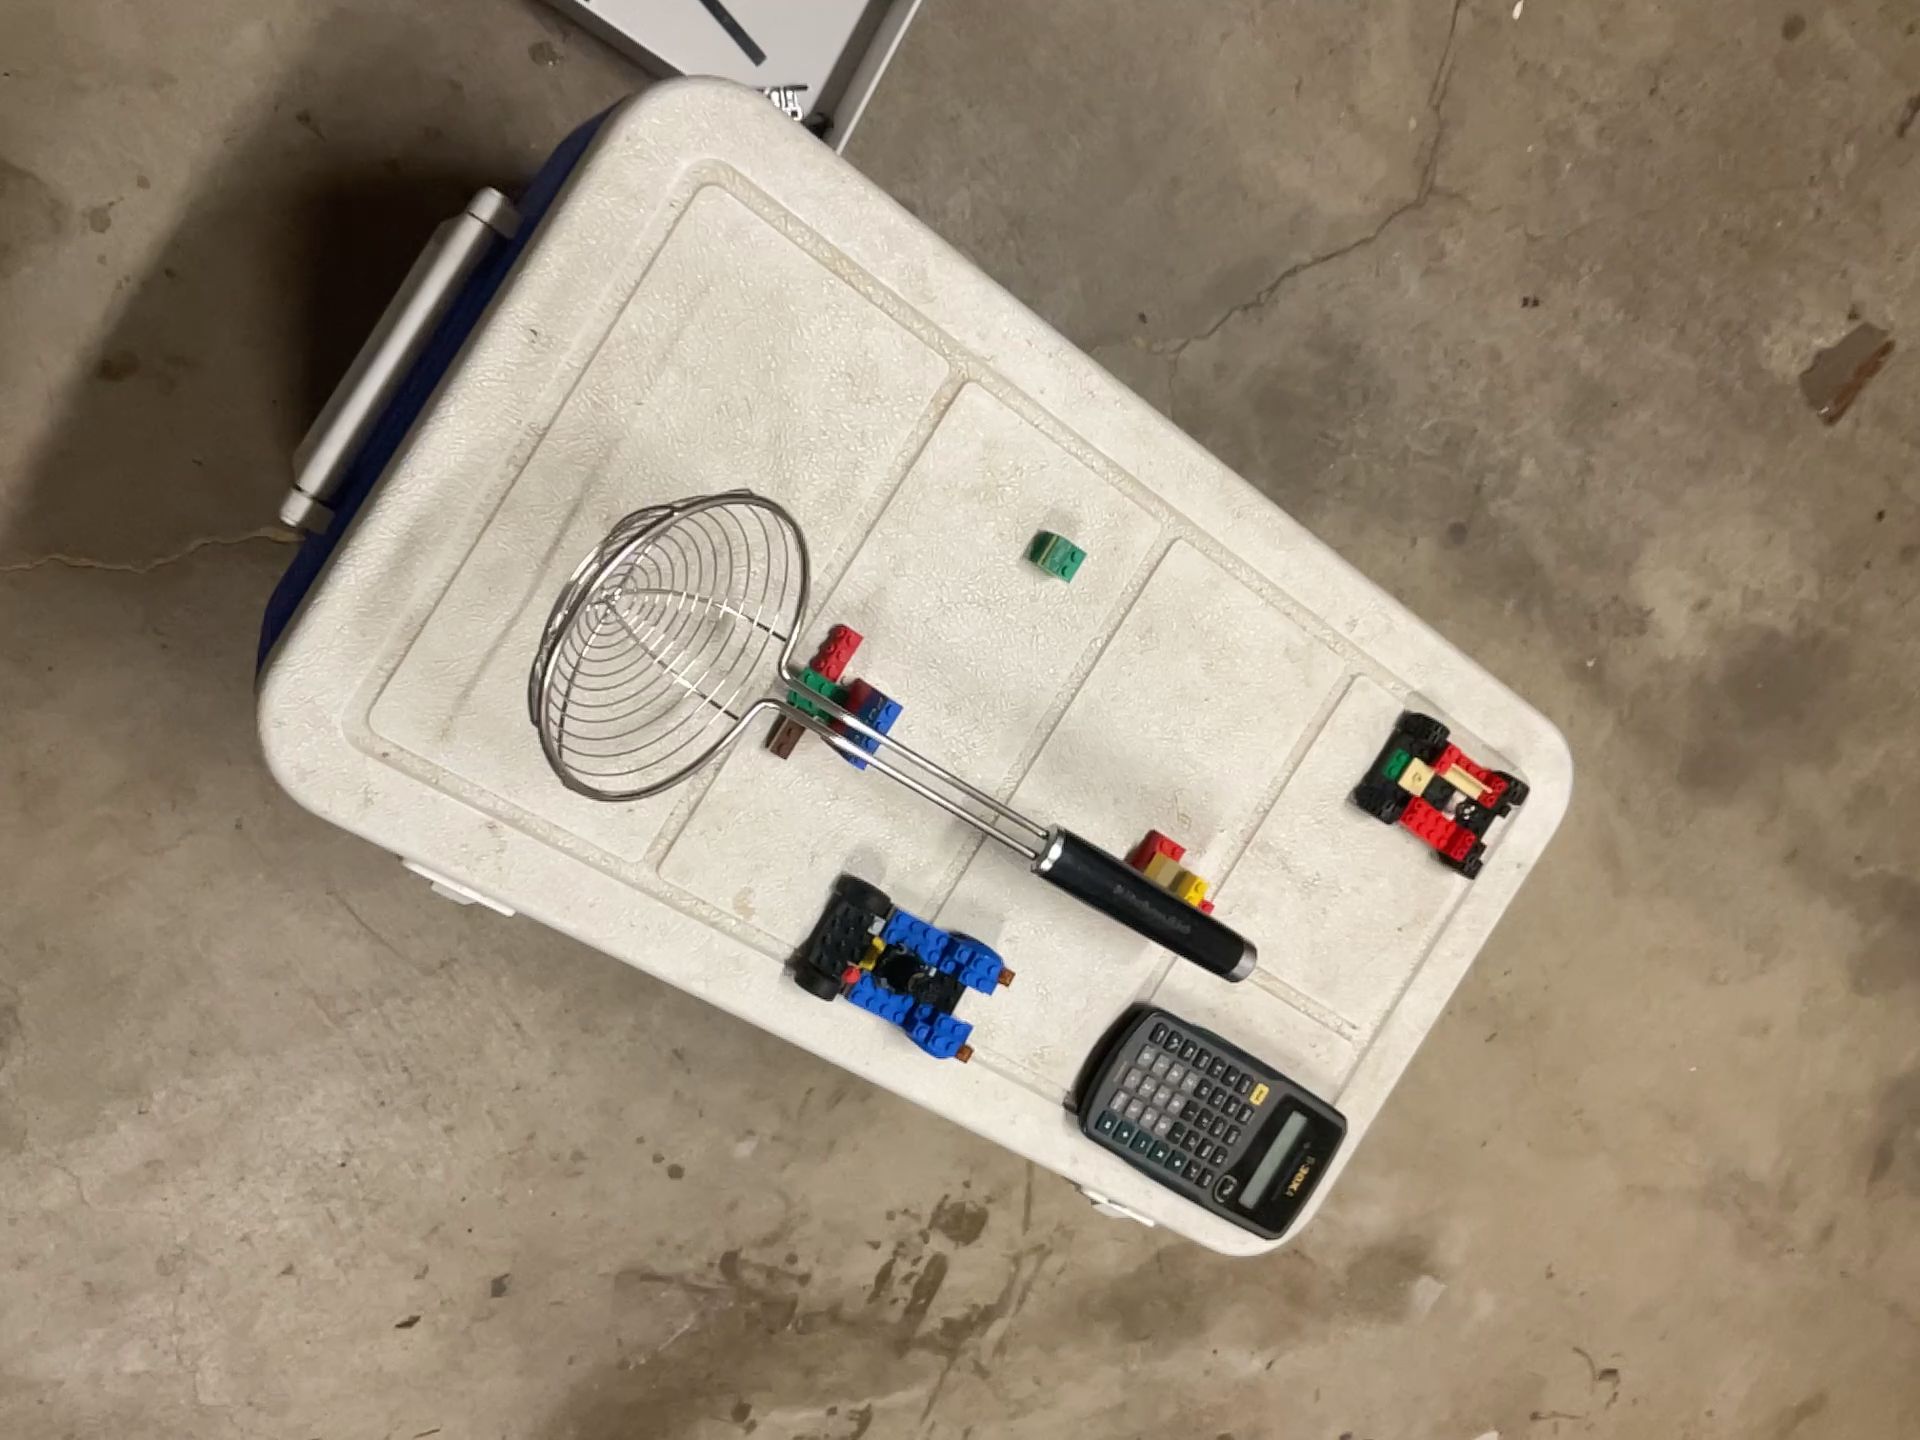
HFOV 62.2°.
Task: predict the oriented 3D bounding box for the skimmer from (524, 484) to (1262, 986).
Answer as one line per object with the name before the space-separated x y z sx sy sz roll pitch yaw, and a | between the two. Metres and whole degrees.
skimmer | 0.000 0.035 0.625 0.362 0.090 0.127 31 92 -25
